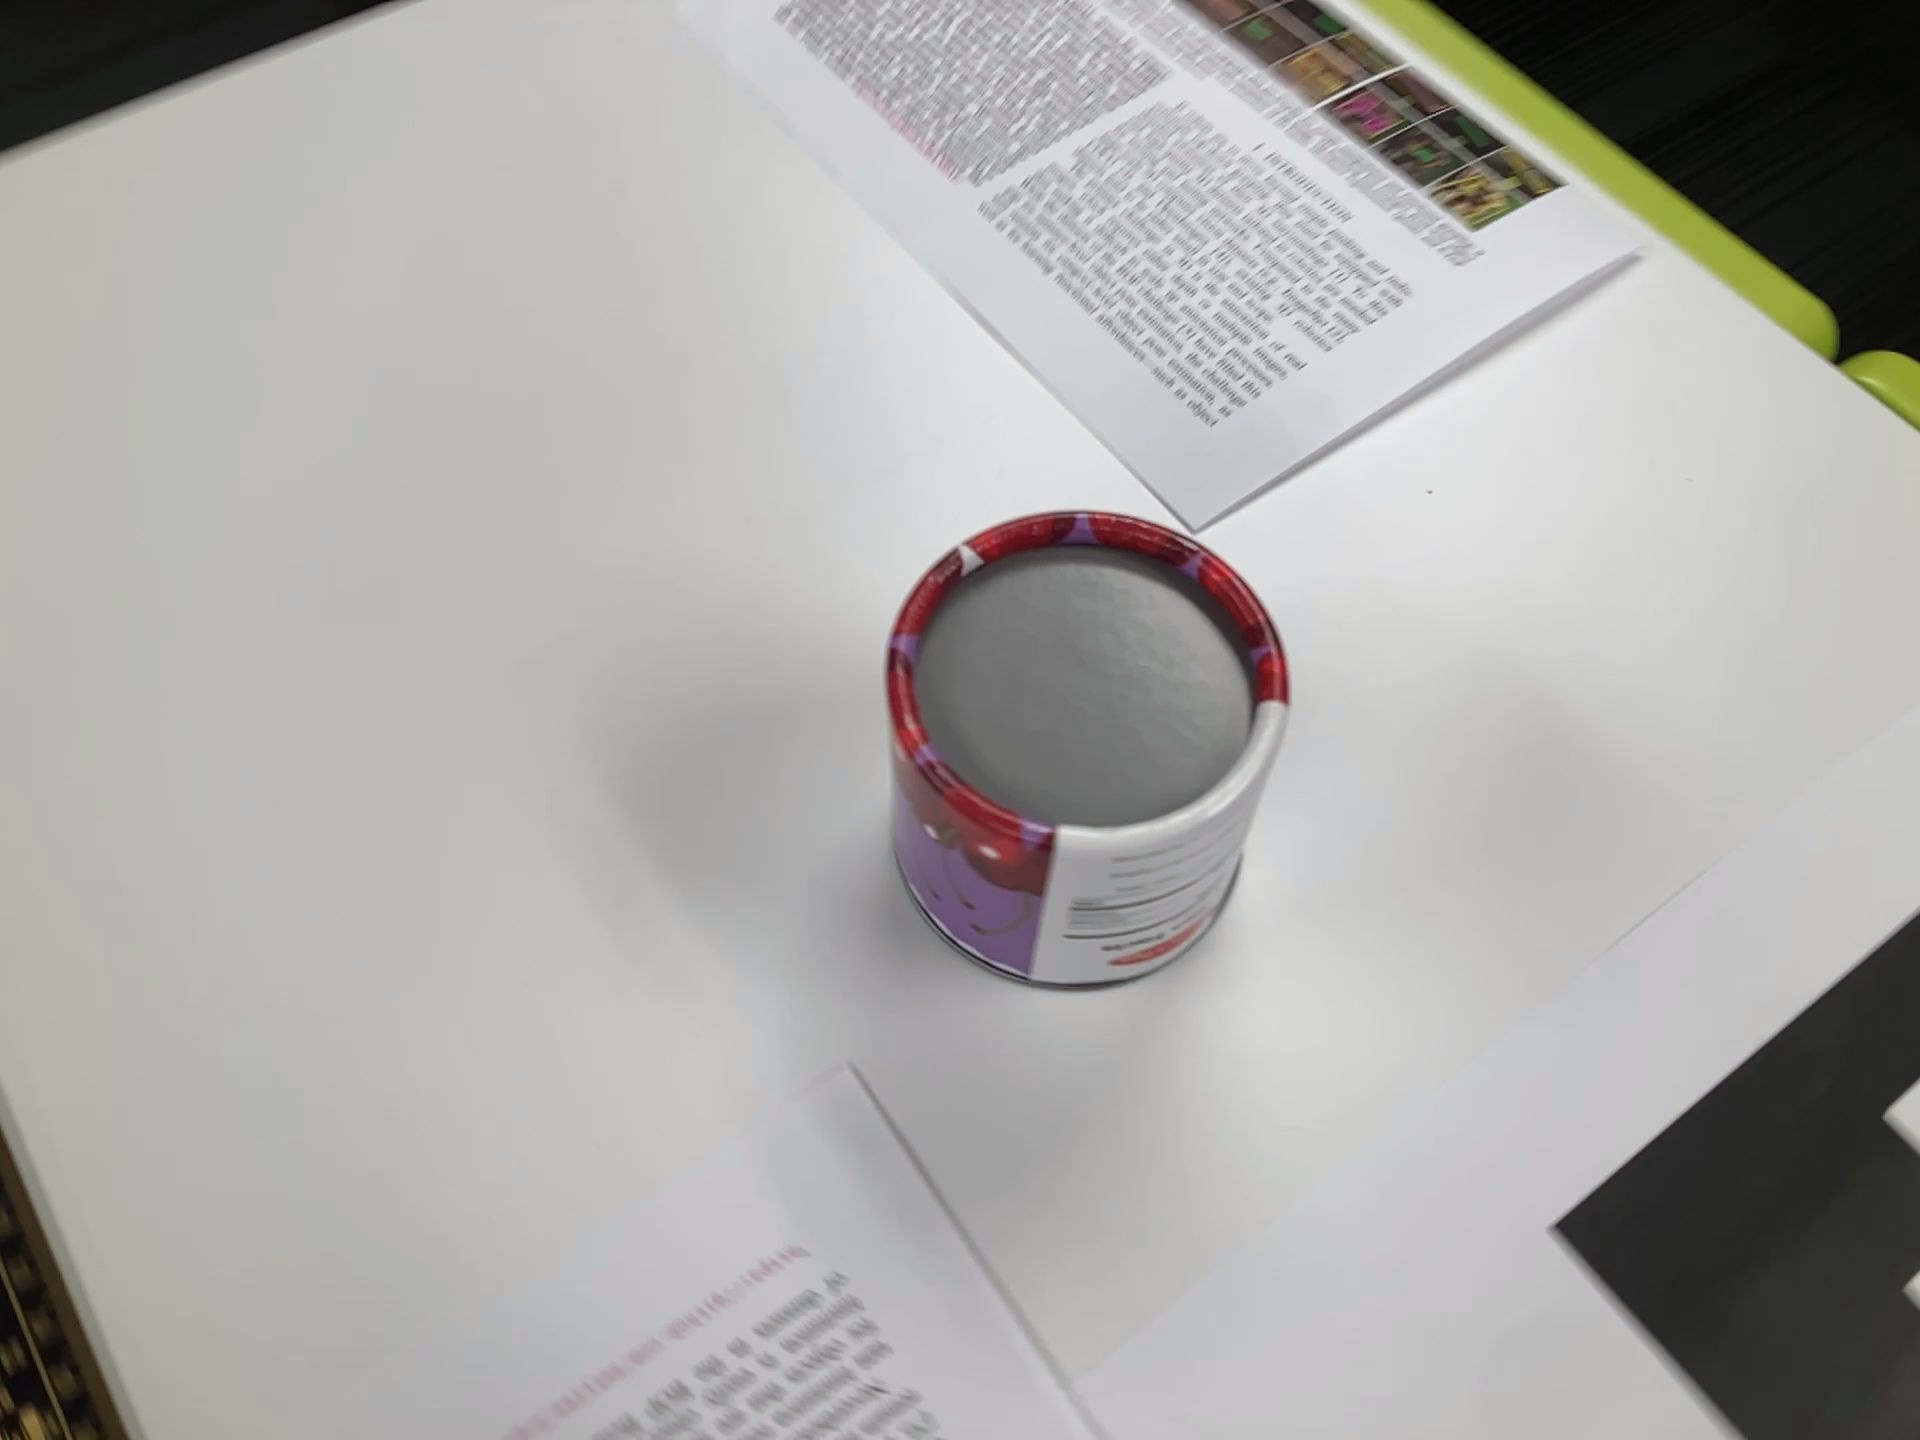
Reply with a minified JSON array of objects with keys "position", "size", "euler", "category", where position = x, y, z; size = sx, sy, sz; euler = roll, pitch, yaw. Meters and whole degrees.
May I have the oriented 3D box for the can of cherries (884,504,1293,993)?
[{"position":[0.018,0.004,0.275],"size":[0.071,0.058,0.071],"euler":[0,59,1],"category":"can of cherries"}]
